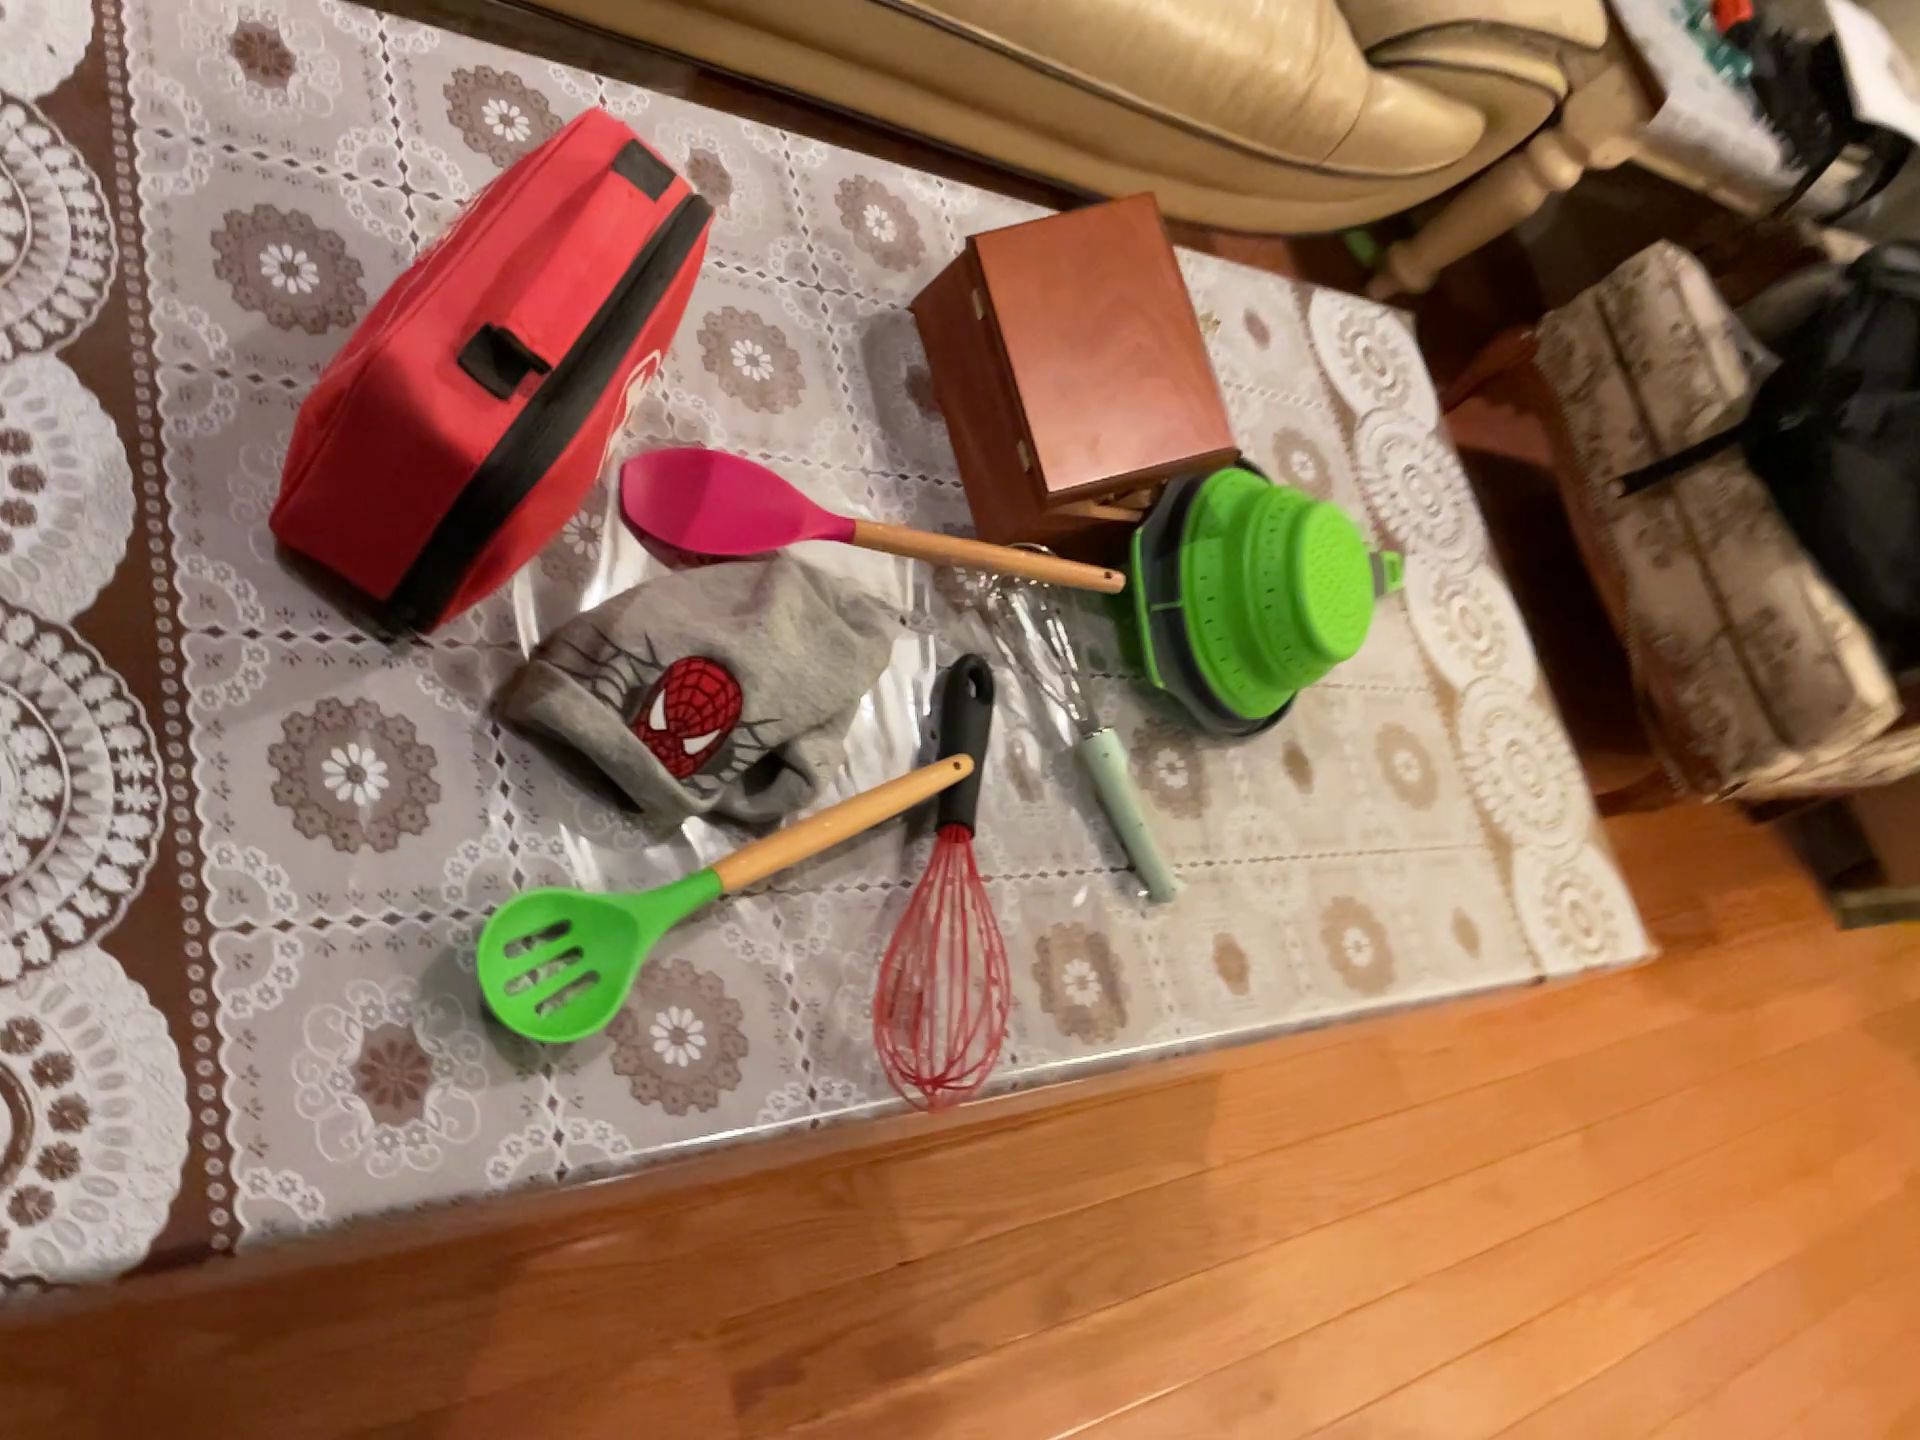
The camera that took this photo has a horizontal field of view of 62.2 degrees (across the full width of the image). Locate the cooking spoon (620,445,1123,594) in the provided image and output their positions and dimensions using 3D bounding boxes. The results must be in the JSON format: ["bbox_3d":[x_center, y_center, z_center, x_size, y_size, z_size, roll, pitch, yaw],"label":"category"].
[{"bbox_3d":[-0.042,-0.105,0.925,0.318,0.017,0.069,8,63,-26],"label":"cooking spoon"}]

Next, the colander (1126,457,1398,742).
[{"bbox_3d":[0.265,-0.099,1.147,0.397,0.094,0.204,-11,95,-51],"label":"colander"}]

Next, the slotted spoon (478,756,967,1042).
[{"bbox_3d":[-0.104,0.074,0.788,0.314,0.031,0.070,-25,84,-43],"label":"slotted spoon"}]

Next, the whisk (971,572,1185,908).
[{"bbox_3d":[0.077,0.006,0.996,0.058,0.059,0.246,-27,88,-4],"label":"whisk"}]

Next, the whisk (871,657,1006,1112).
[{"bbox_3d":[-0.004,0.077,0.872,0.073,0.073,0.296,25,46,-22],"label":"whisk"}]
